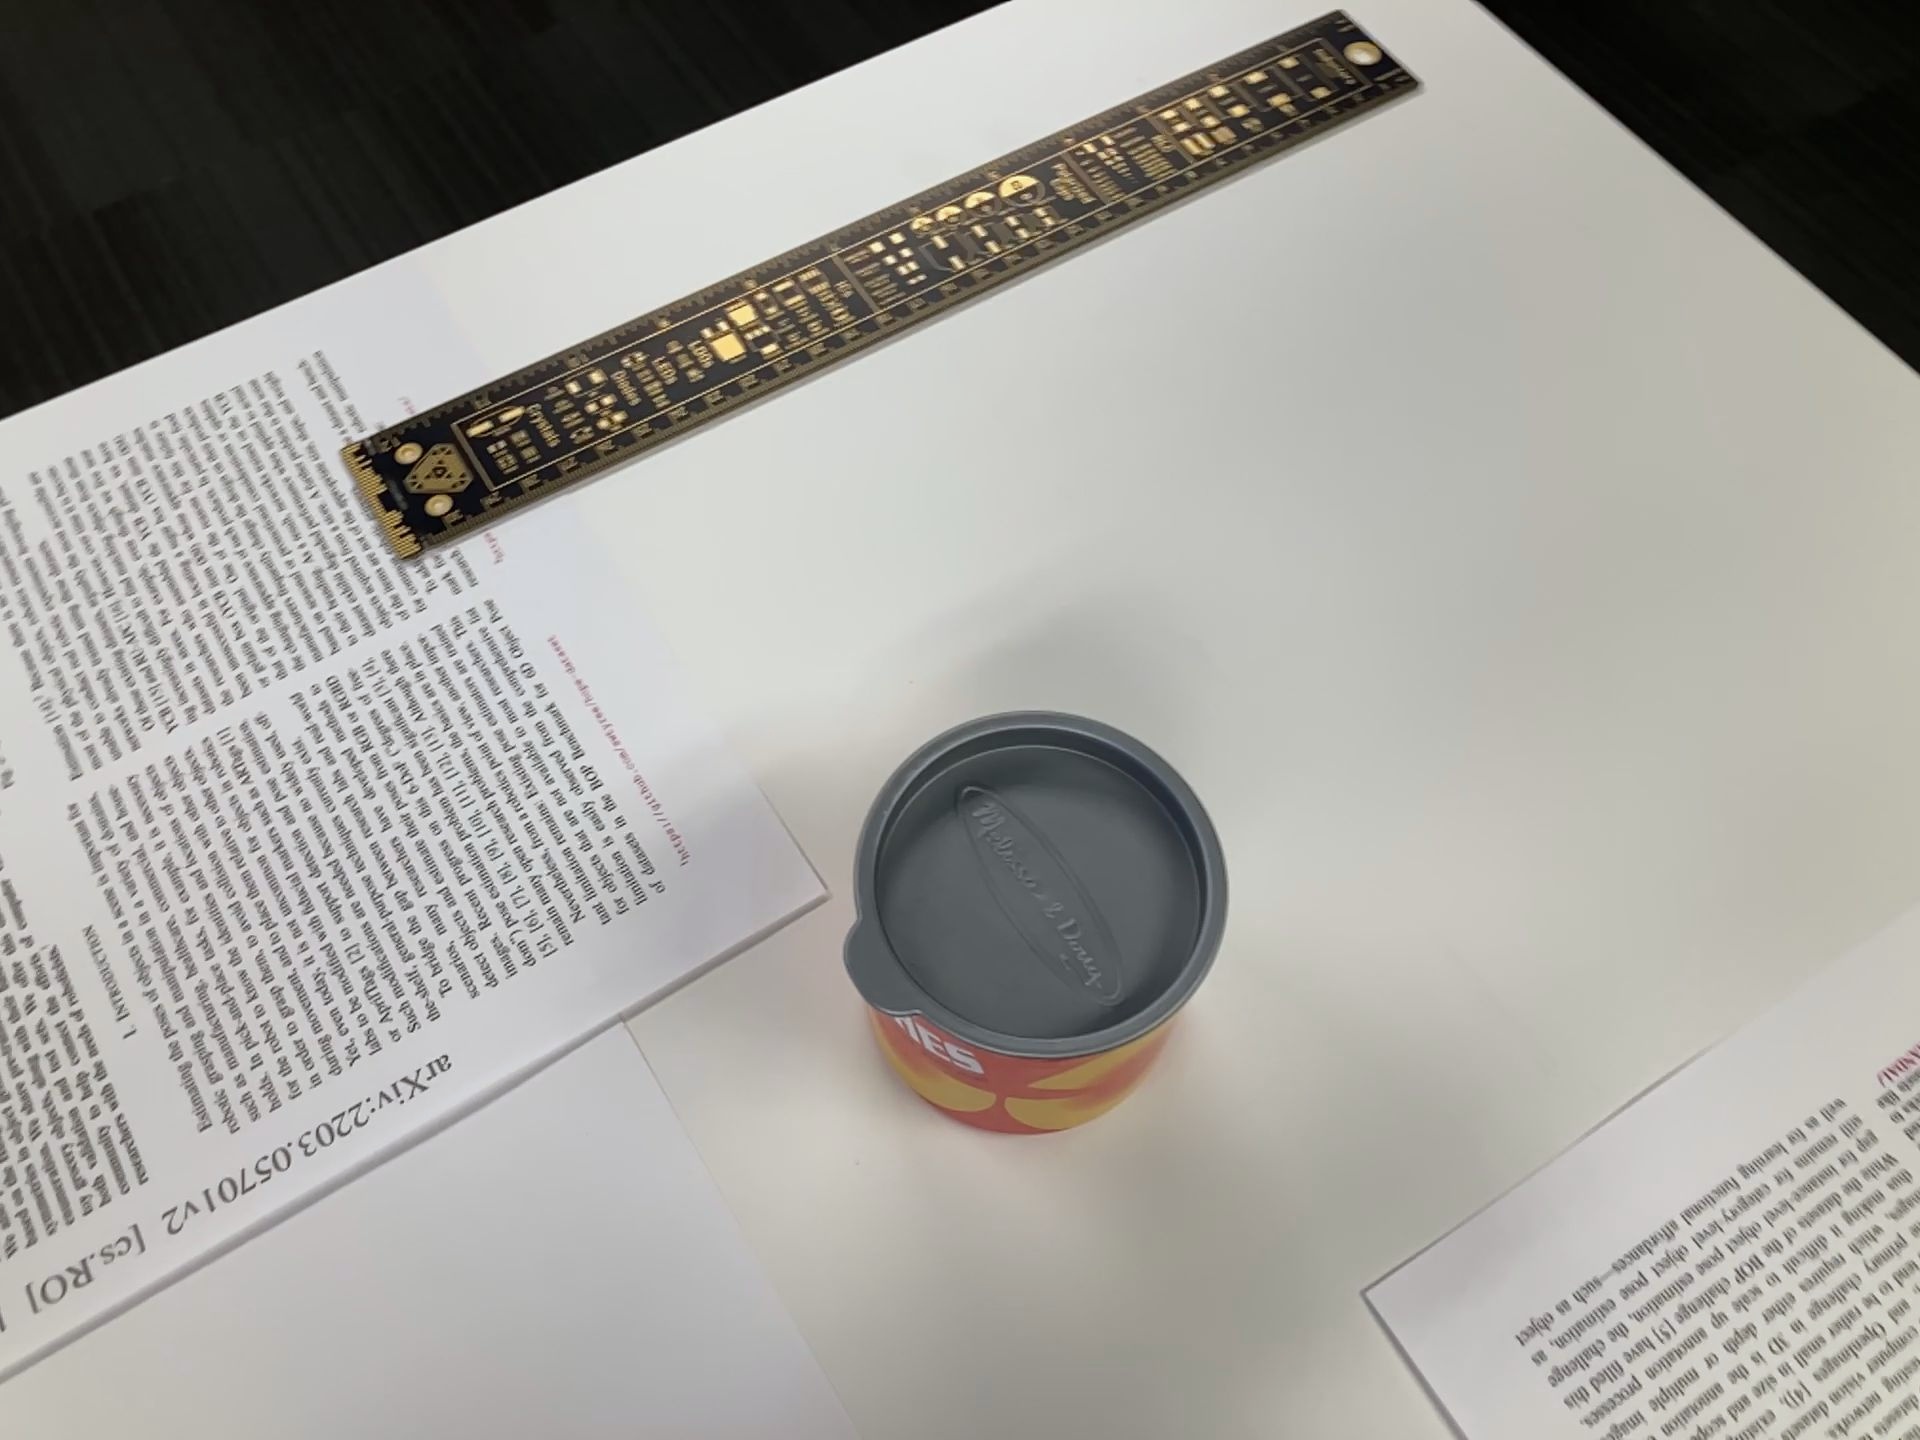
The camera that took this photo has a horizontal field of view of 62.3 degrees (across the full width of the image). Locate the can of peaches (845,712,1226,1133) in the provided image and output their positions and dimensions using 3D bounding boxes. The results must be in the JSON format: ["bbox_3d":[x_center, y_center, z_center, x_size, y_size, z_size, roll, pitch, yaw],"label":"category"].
[{"bbox_3d":[0.011,0.042,0.306,0.071,0.058,0.071,0,62,-1],"label":"can of peaches"}]
